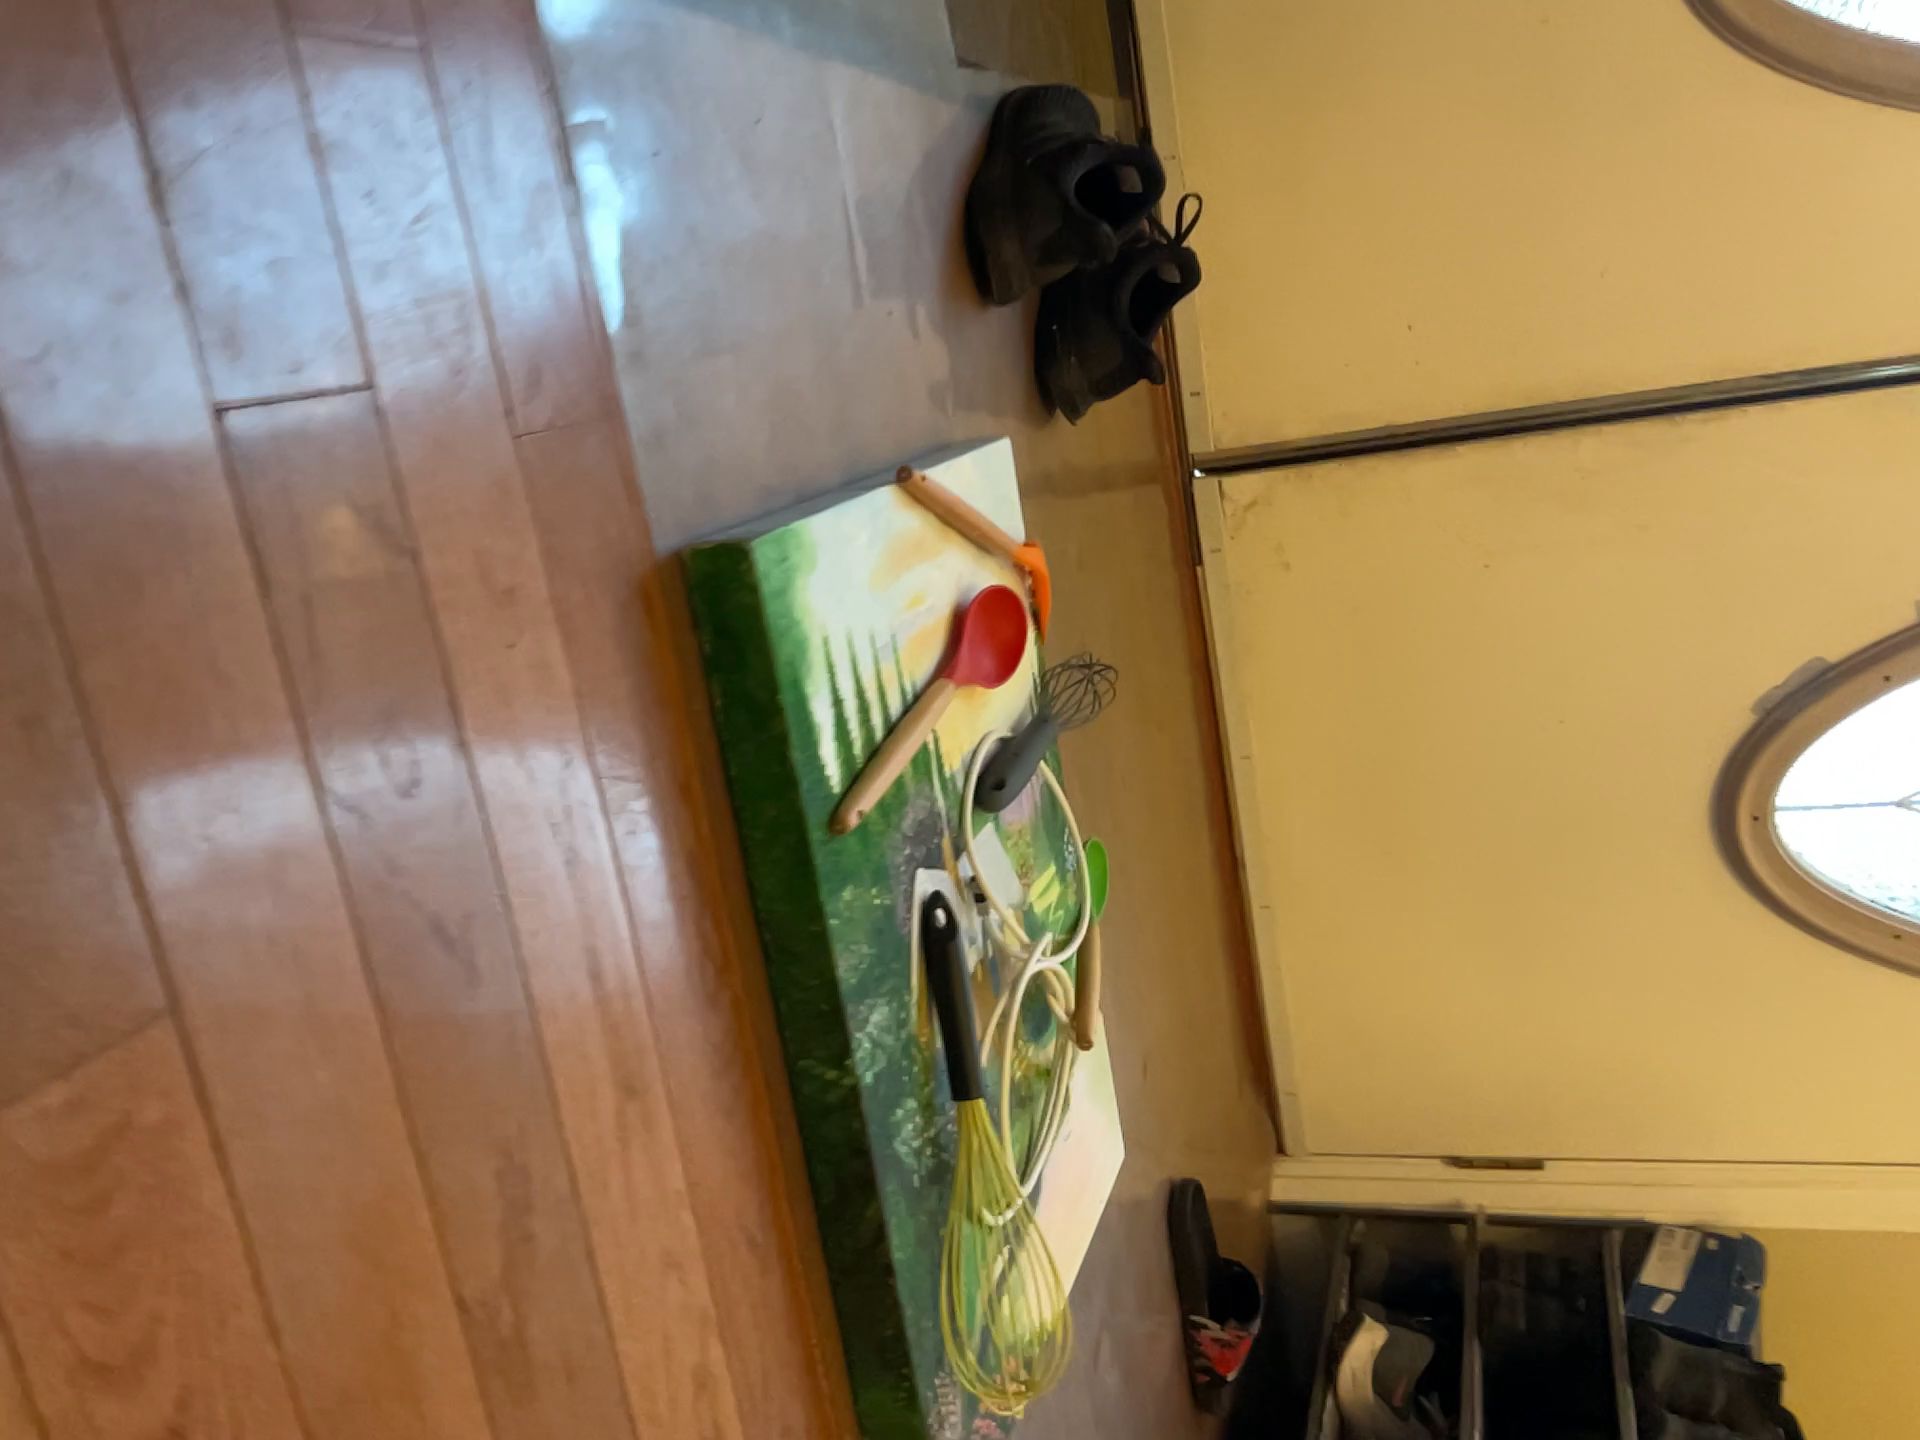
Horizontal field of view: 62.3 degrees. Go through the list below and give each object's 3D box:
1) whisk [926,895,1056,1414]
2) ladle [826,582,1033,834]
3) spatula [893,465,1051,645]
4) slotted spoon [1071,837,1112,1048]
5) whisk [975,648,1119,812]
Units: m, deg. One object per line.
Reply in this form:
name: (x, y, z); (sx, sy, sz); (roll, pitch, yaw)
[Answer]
whisk: (0.008, 0.261, 0.966); (0.080, 0.067, 0.312); (8, 73, -75)
ladle: (-0.016, -0.009, 0.986); (0.315, 0.031, 0.069); (-52, 133, -58)
spatula: (0.017, -0.125, 1.125); (0.322, 0.041, 0.081); (22, 55, -66)
slotted spoon: (0.100, 0.172, 1.242); (0.314, 0.031, 0.070); (-70, 152, -71)
whisk: (0.064, 0.007, 1.170); (0.239, 0.055, 0.055); (-48, 120, -55)
